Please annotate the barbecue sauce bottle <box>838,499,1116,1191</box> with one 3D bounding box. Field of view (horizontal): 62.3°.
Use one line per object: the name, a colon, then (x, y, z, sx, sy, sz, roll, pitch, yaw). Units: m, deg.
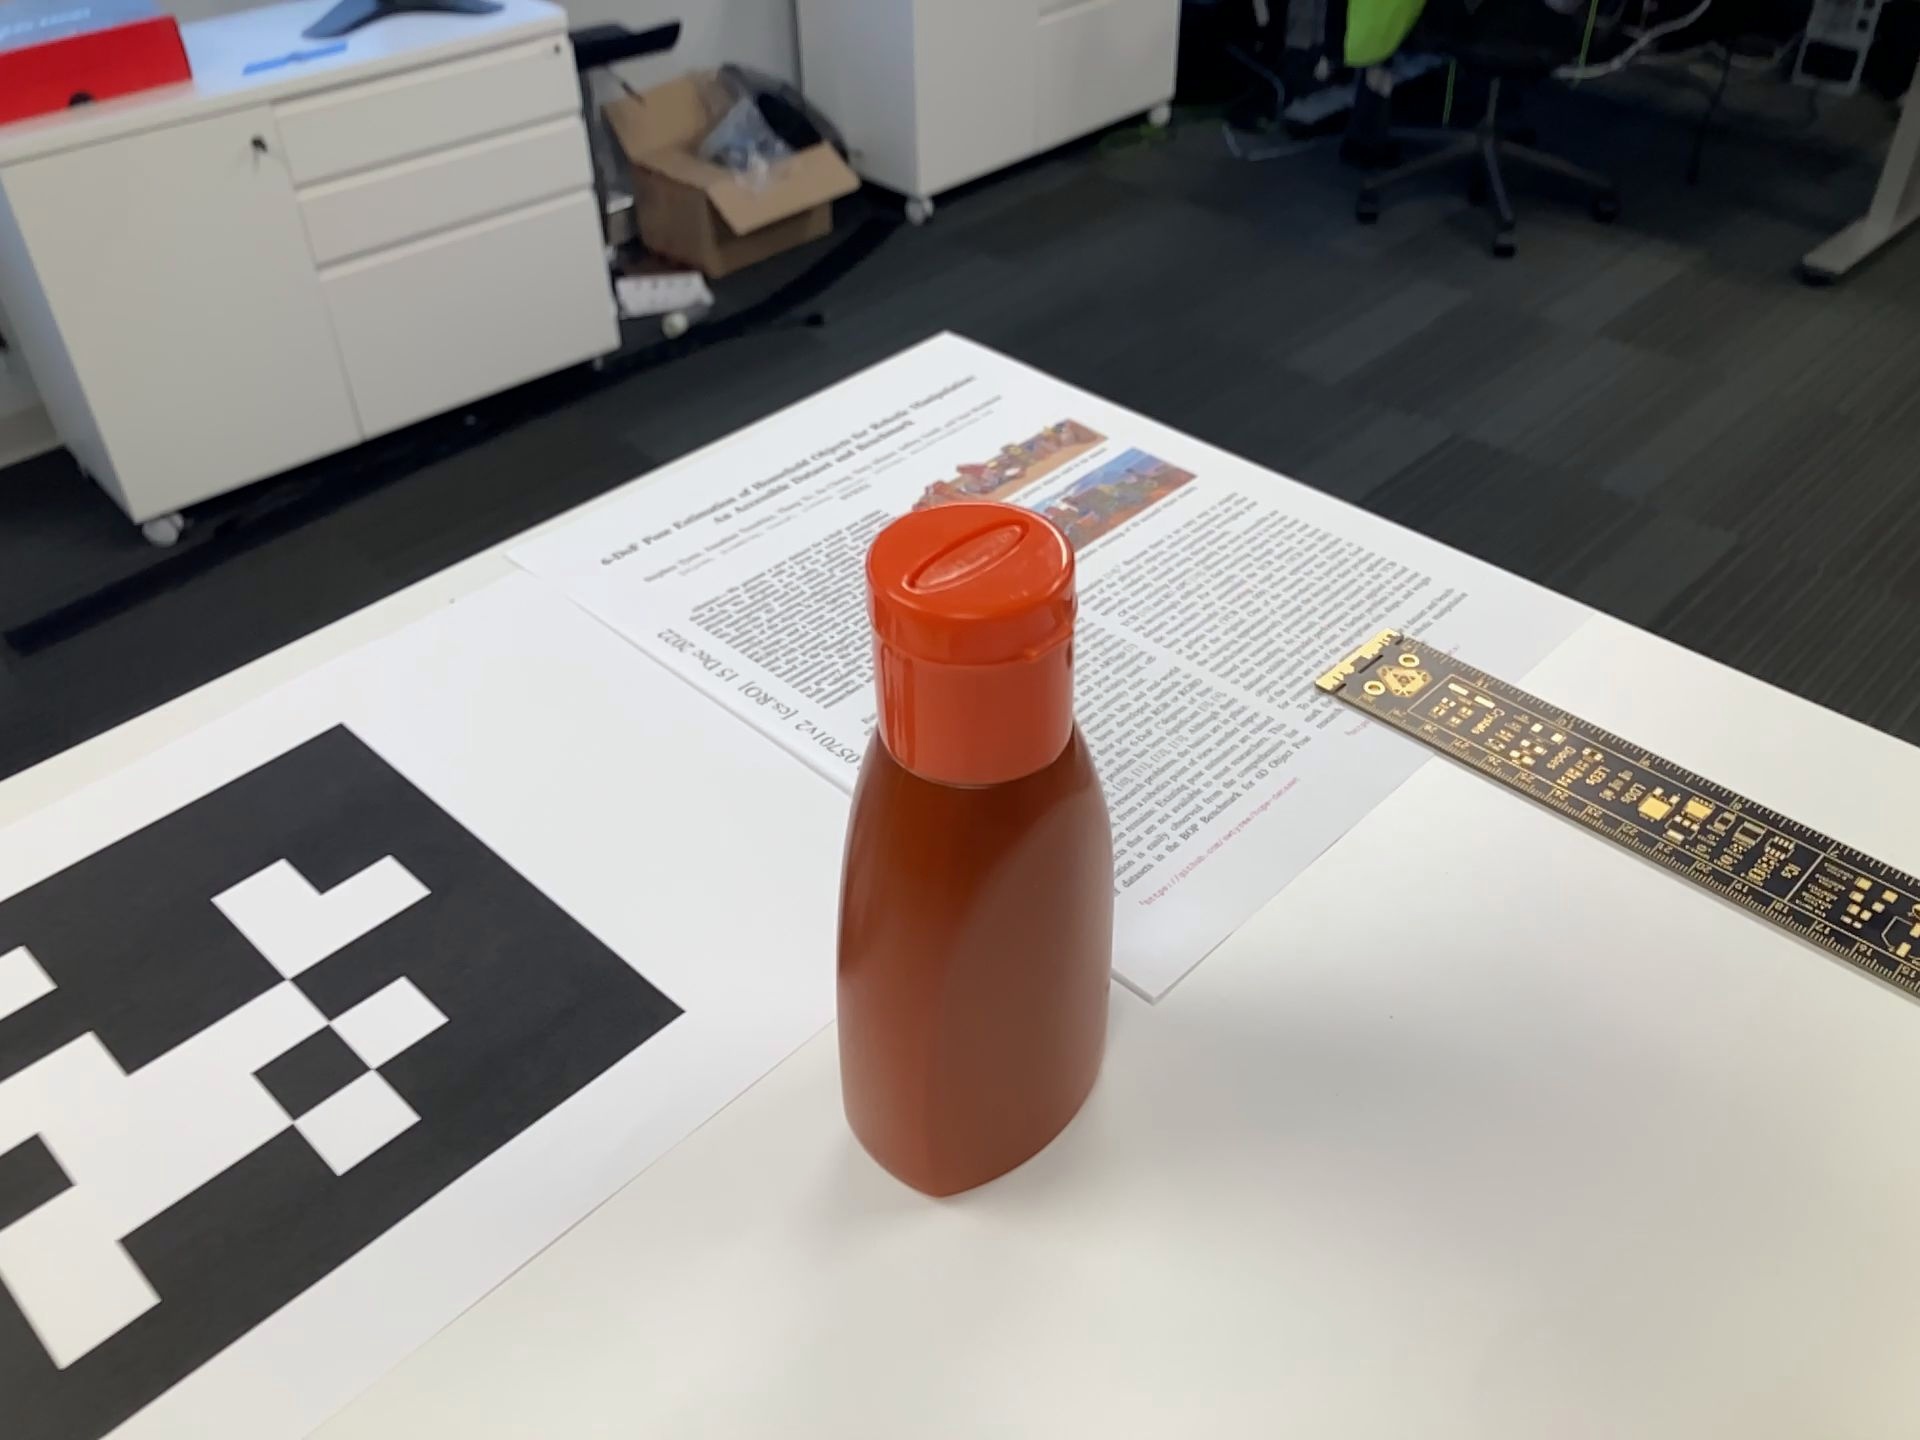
barbecue sauce bottle: (0.004, 0.028, 0.317, 0.065, 0.148, 0.043, -33, 49, -32)
